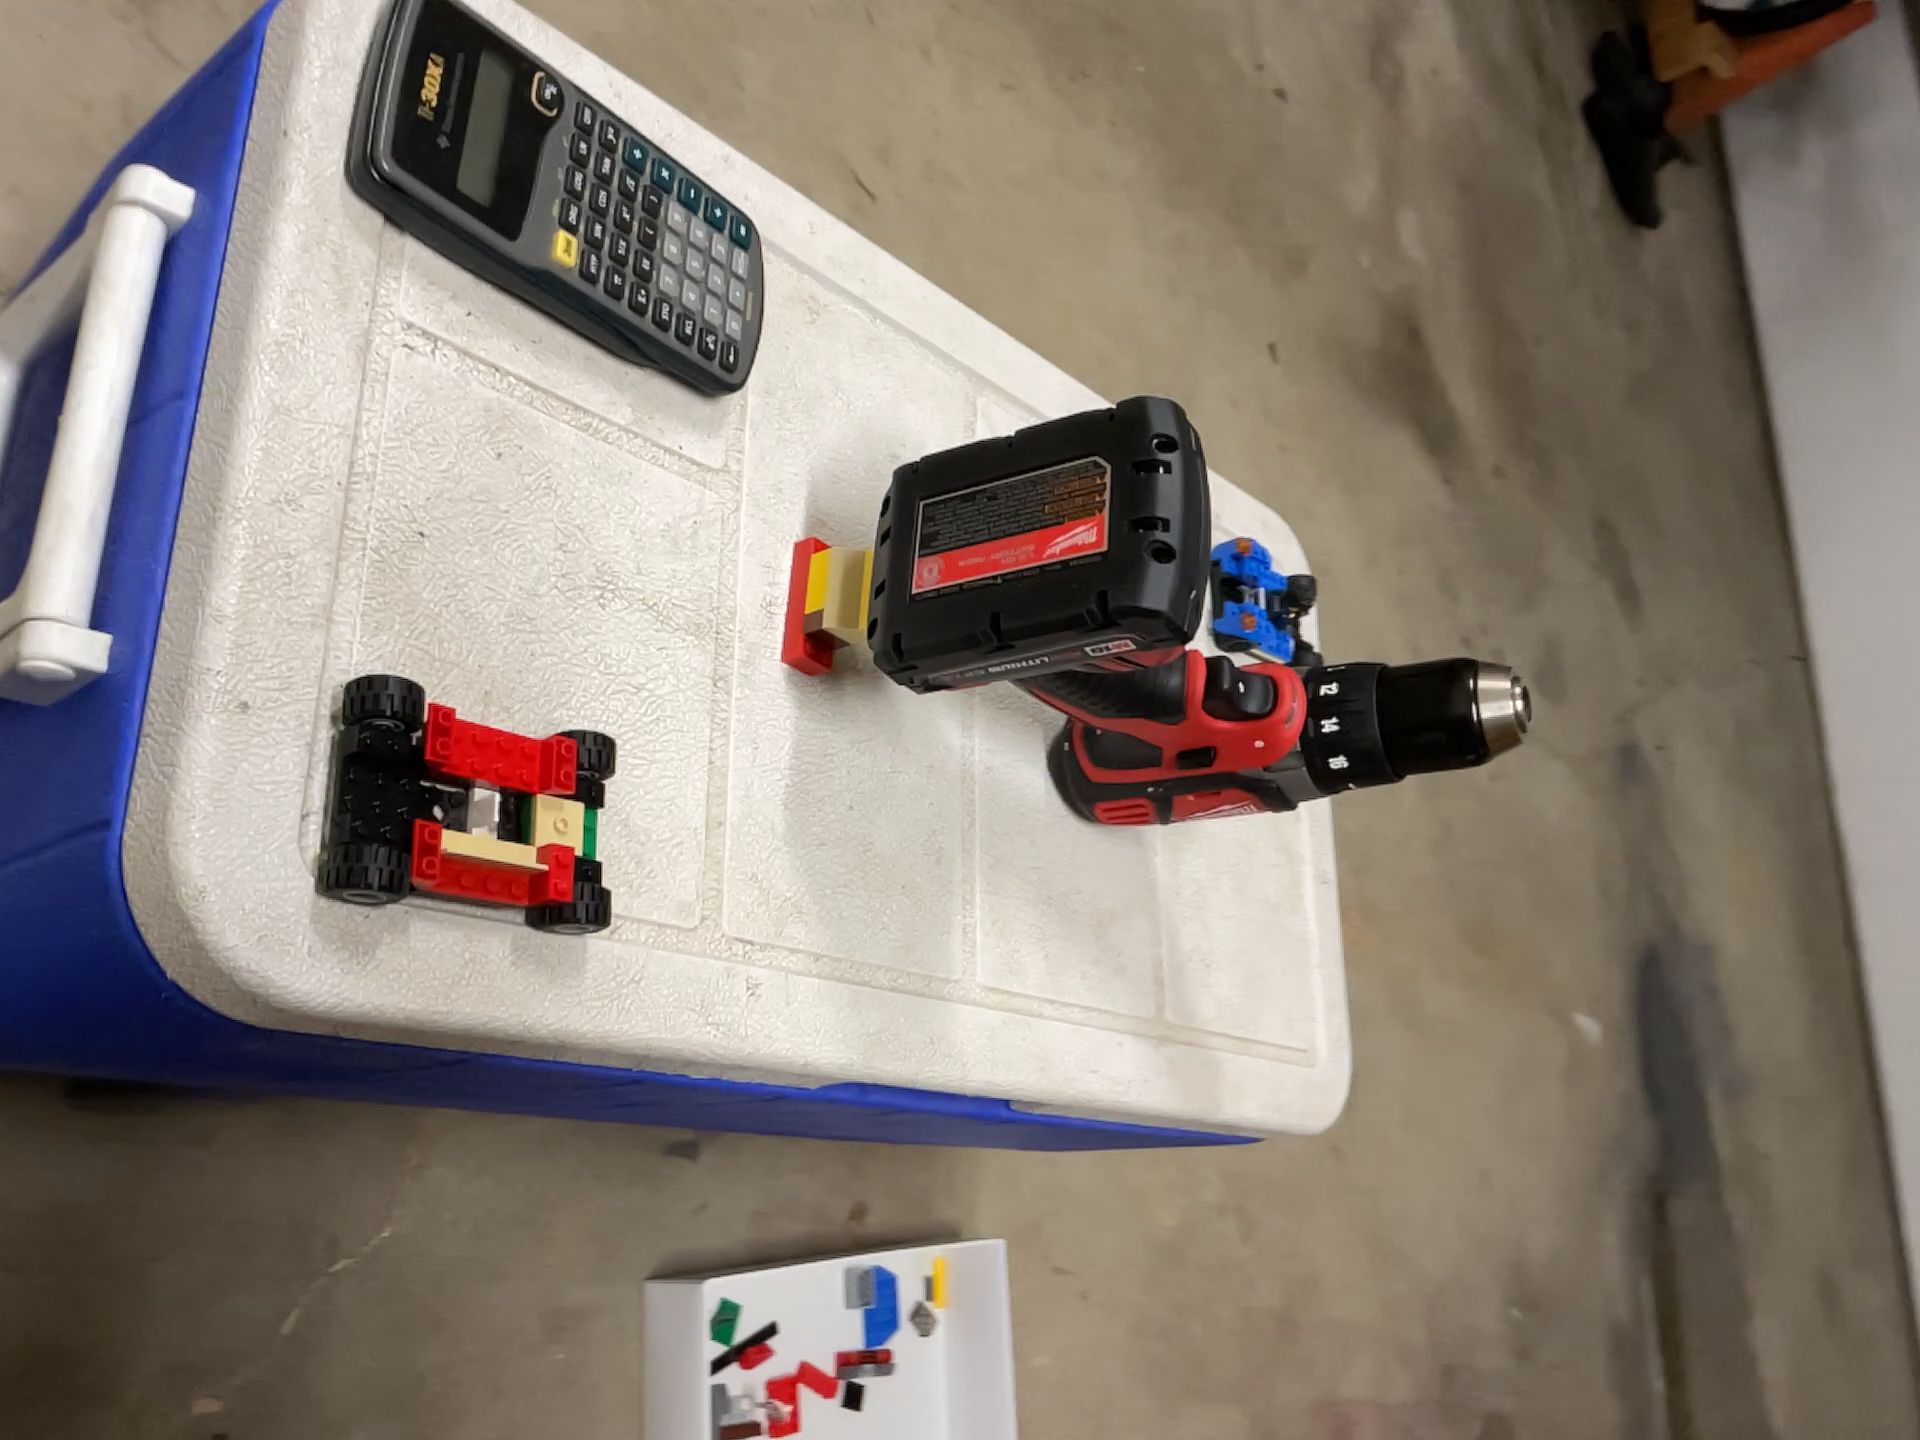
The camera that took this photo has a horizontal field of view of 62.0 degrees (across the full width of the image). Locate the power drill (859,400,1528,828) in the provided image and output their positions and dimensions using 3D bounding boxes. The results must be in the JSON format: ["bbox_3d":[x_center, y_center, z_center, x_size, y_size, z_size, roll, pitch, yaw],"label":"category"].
[{"bbox_3d":[0.090,-0.022,0.586,0.226,0.187,0.080,36,53,-51],"label":"power drill"}]
